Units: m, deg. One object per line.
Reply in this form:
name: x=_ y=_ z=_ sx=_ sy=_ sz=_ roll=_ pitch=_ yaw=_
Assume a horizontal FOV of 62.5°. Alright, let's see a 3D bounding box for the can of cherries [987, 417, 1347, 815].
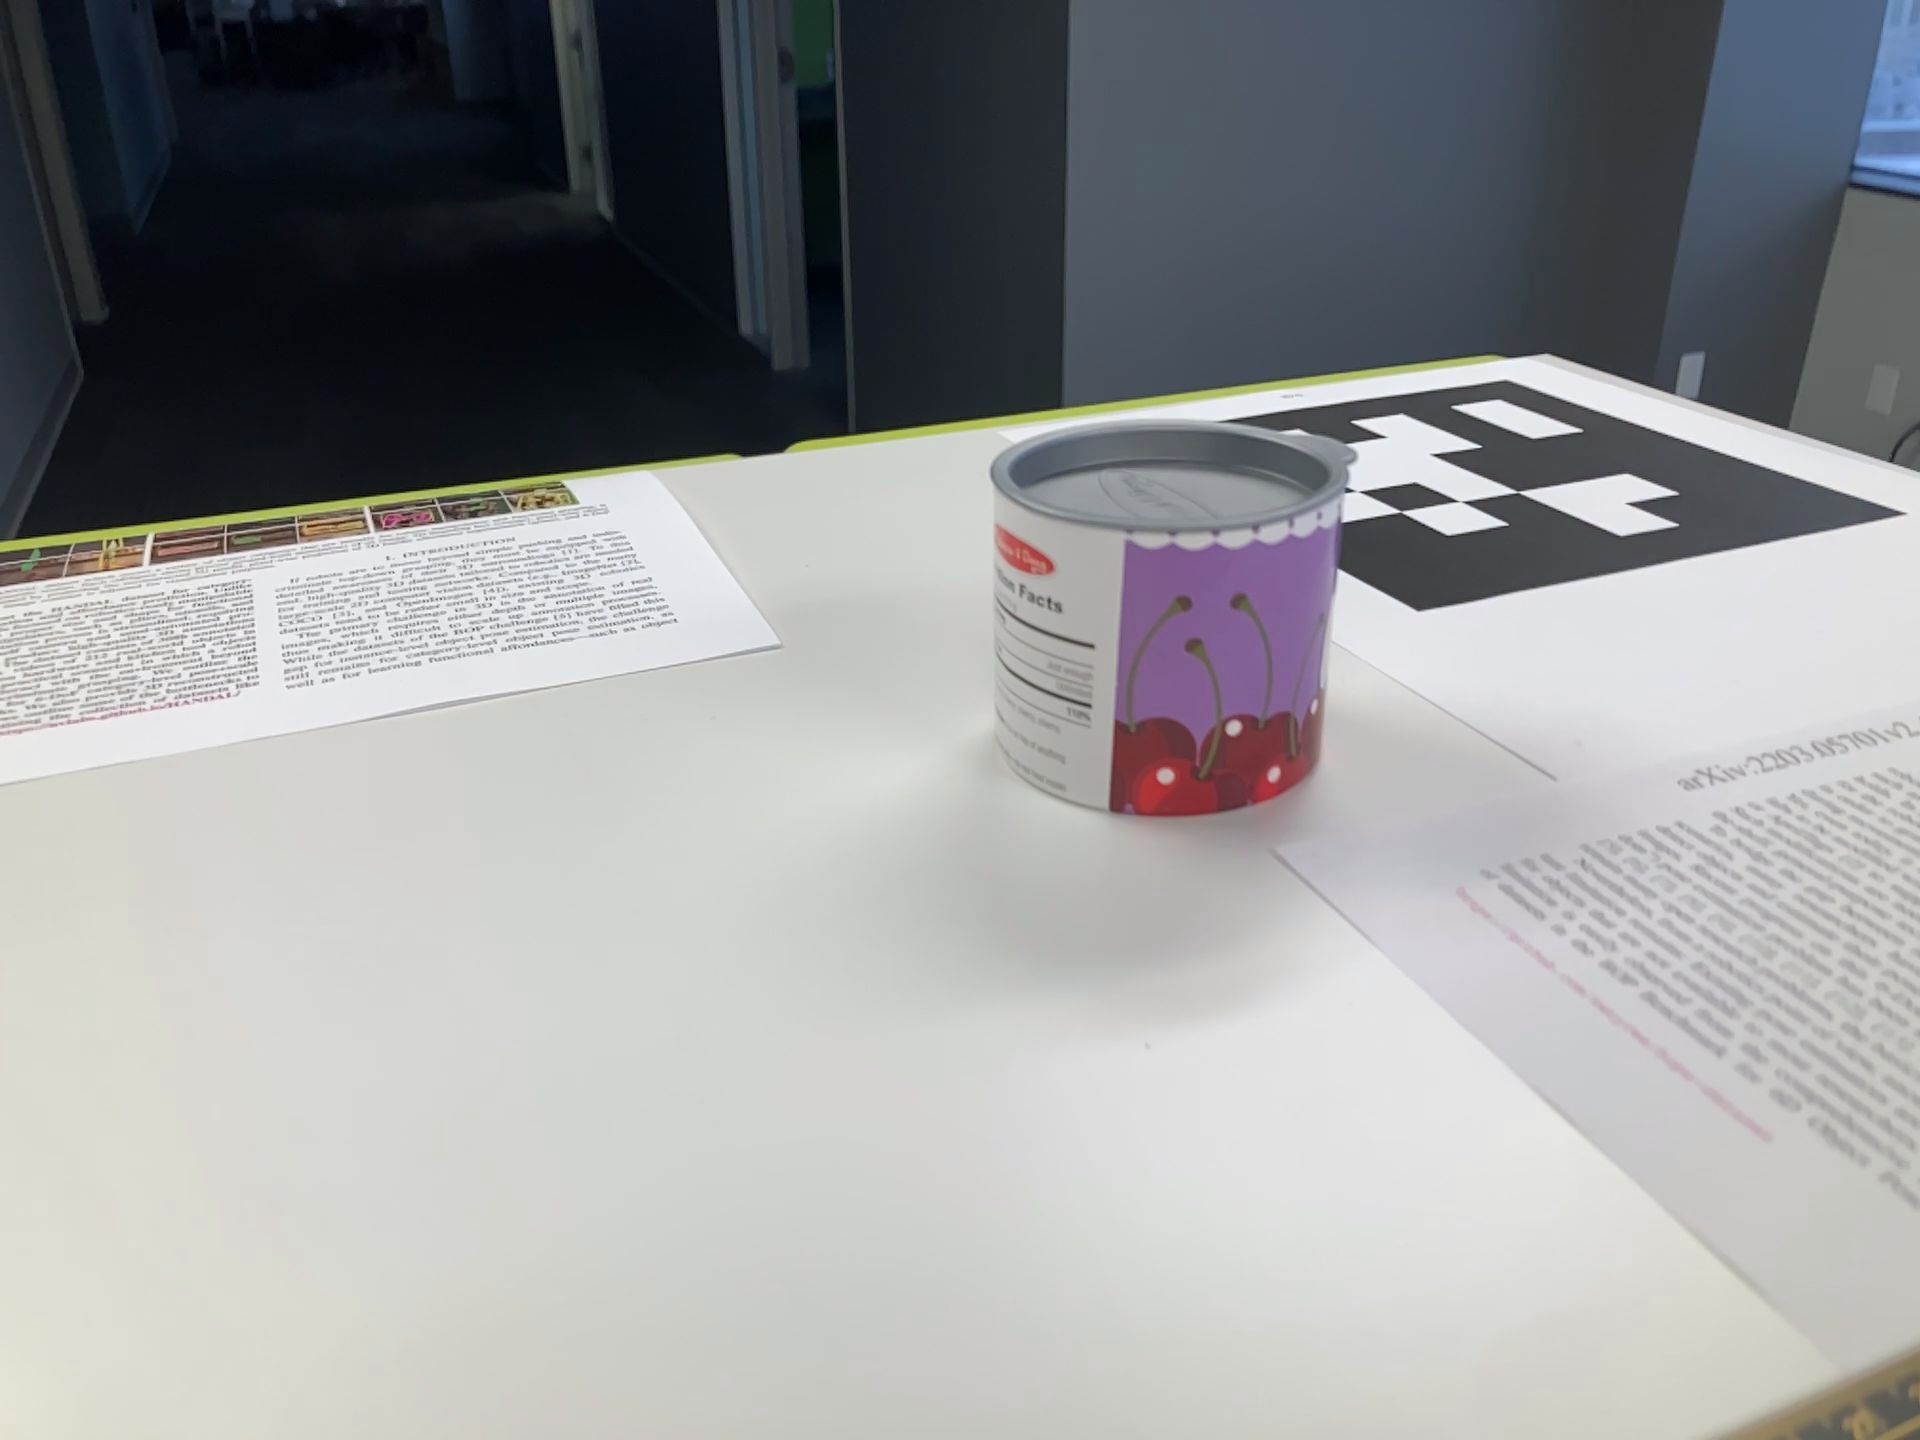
can of cherries: x=0.041 y=-0.022 z=0.308 sx=0.071 sy=0.058 sz=0.071 roll=-1 pitch=25 yaw=1
